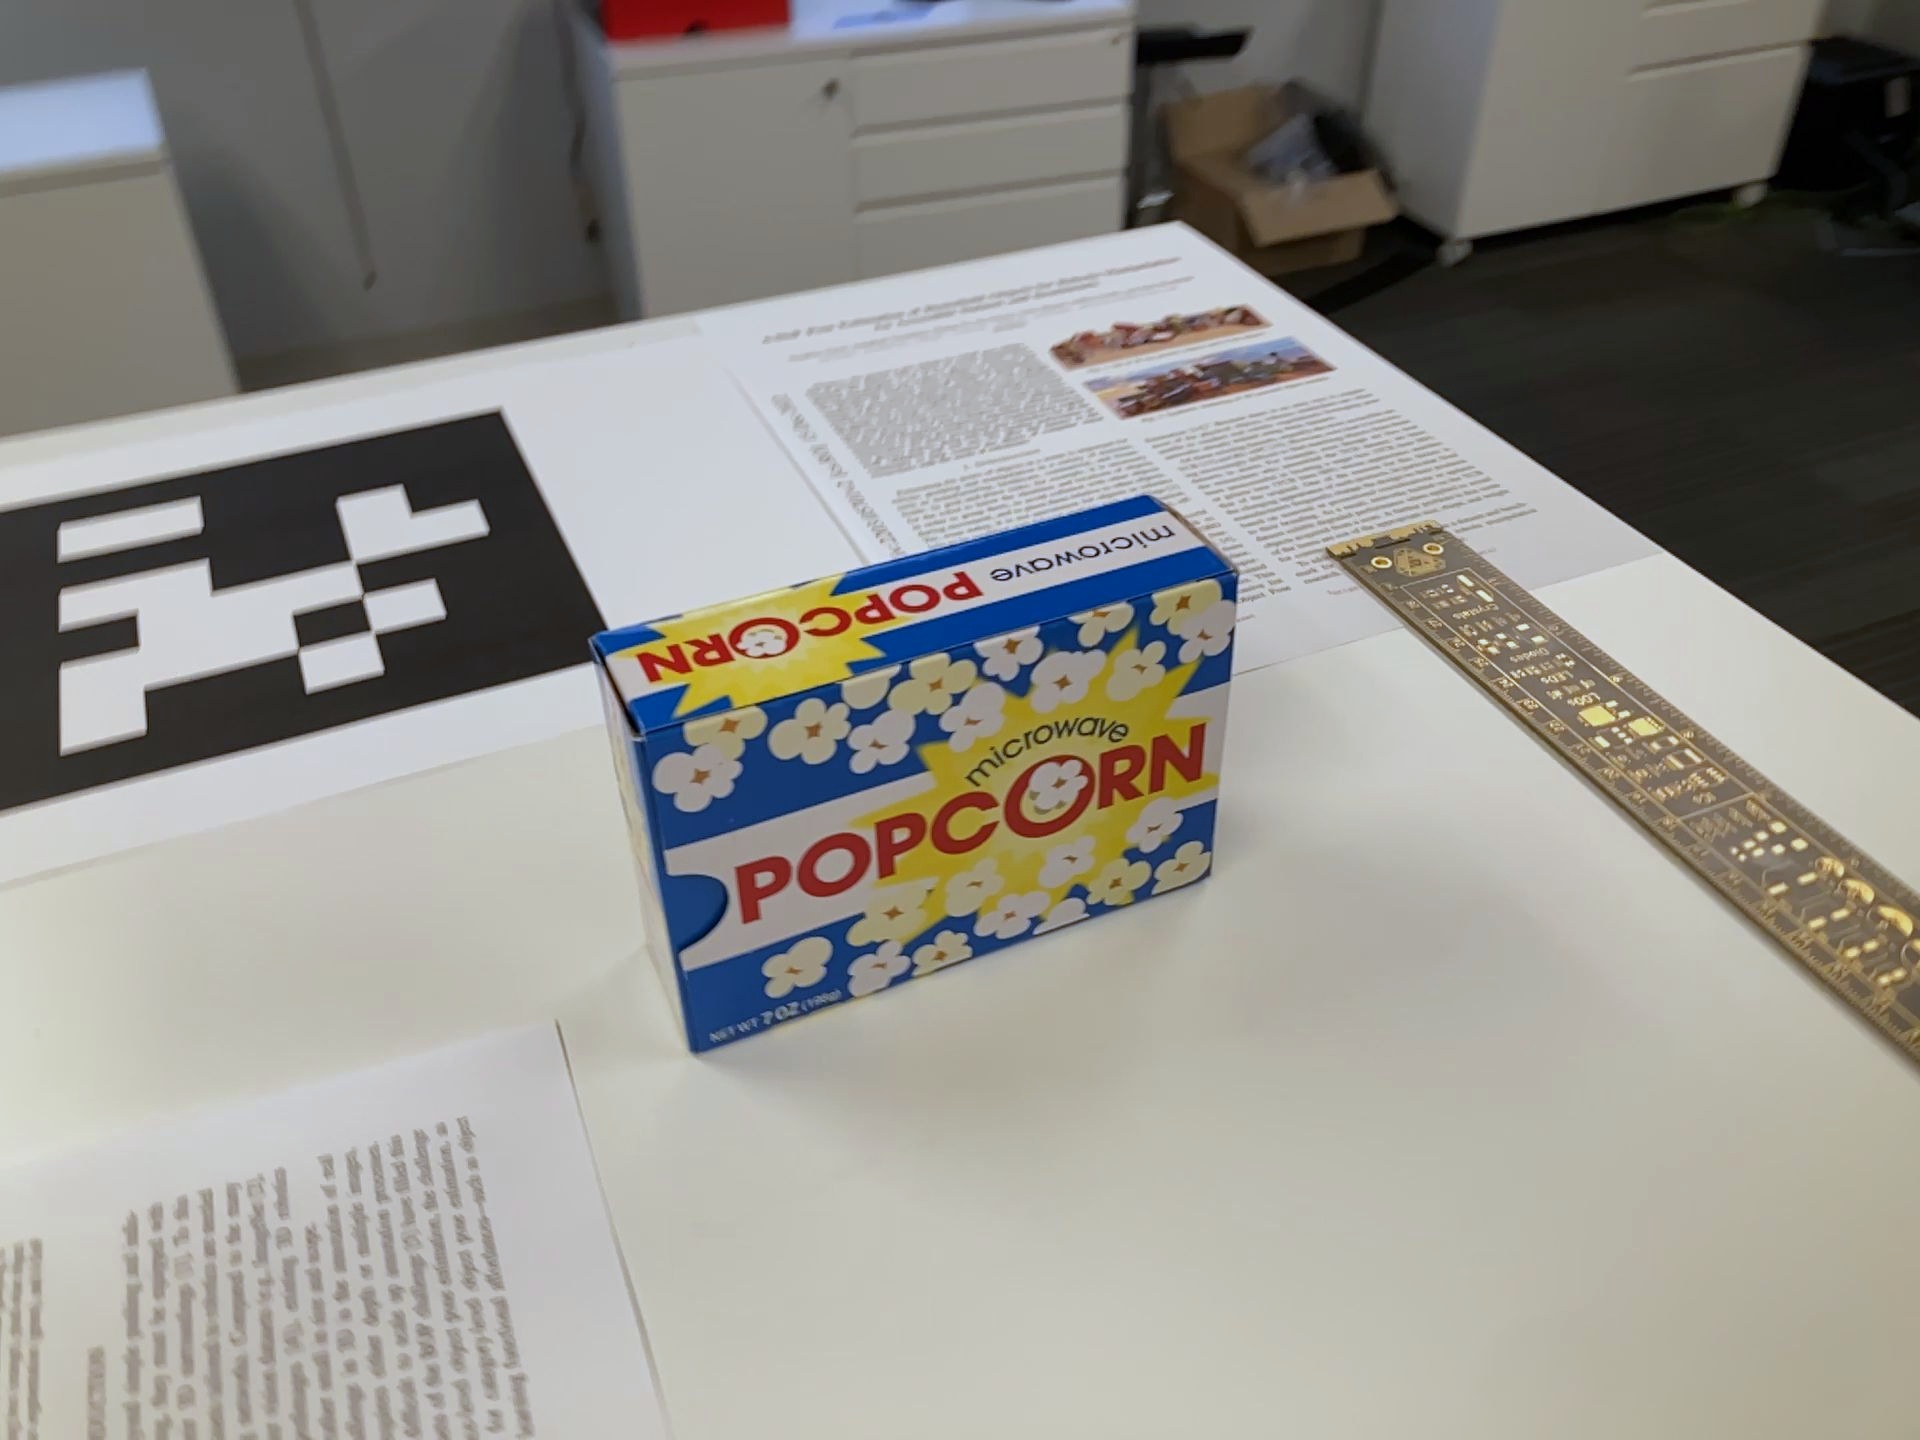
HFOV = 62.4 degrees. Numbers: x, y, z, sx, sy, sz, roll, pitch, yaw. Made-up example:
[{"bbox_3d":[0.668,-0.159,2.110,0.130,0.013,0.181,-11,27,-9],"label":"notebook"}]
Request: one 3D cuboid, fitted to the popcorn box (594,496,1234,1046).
[{"bbox_3d":[-0.007,0.009,0.336,0.126,0.085,0.038,-16,40,-18],"label":"popcorn box"}]
